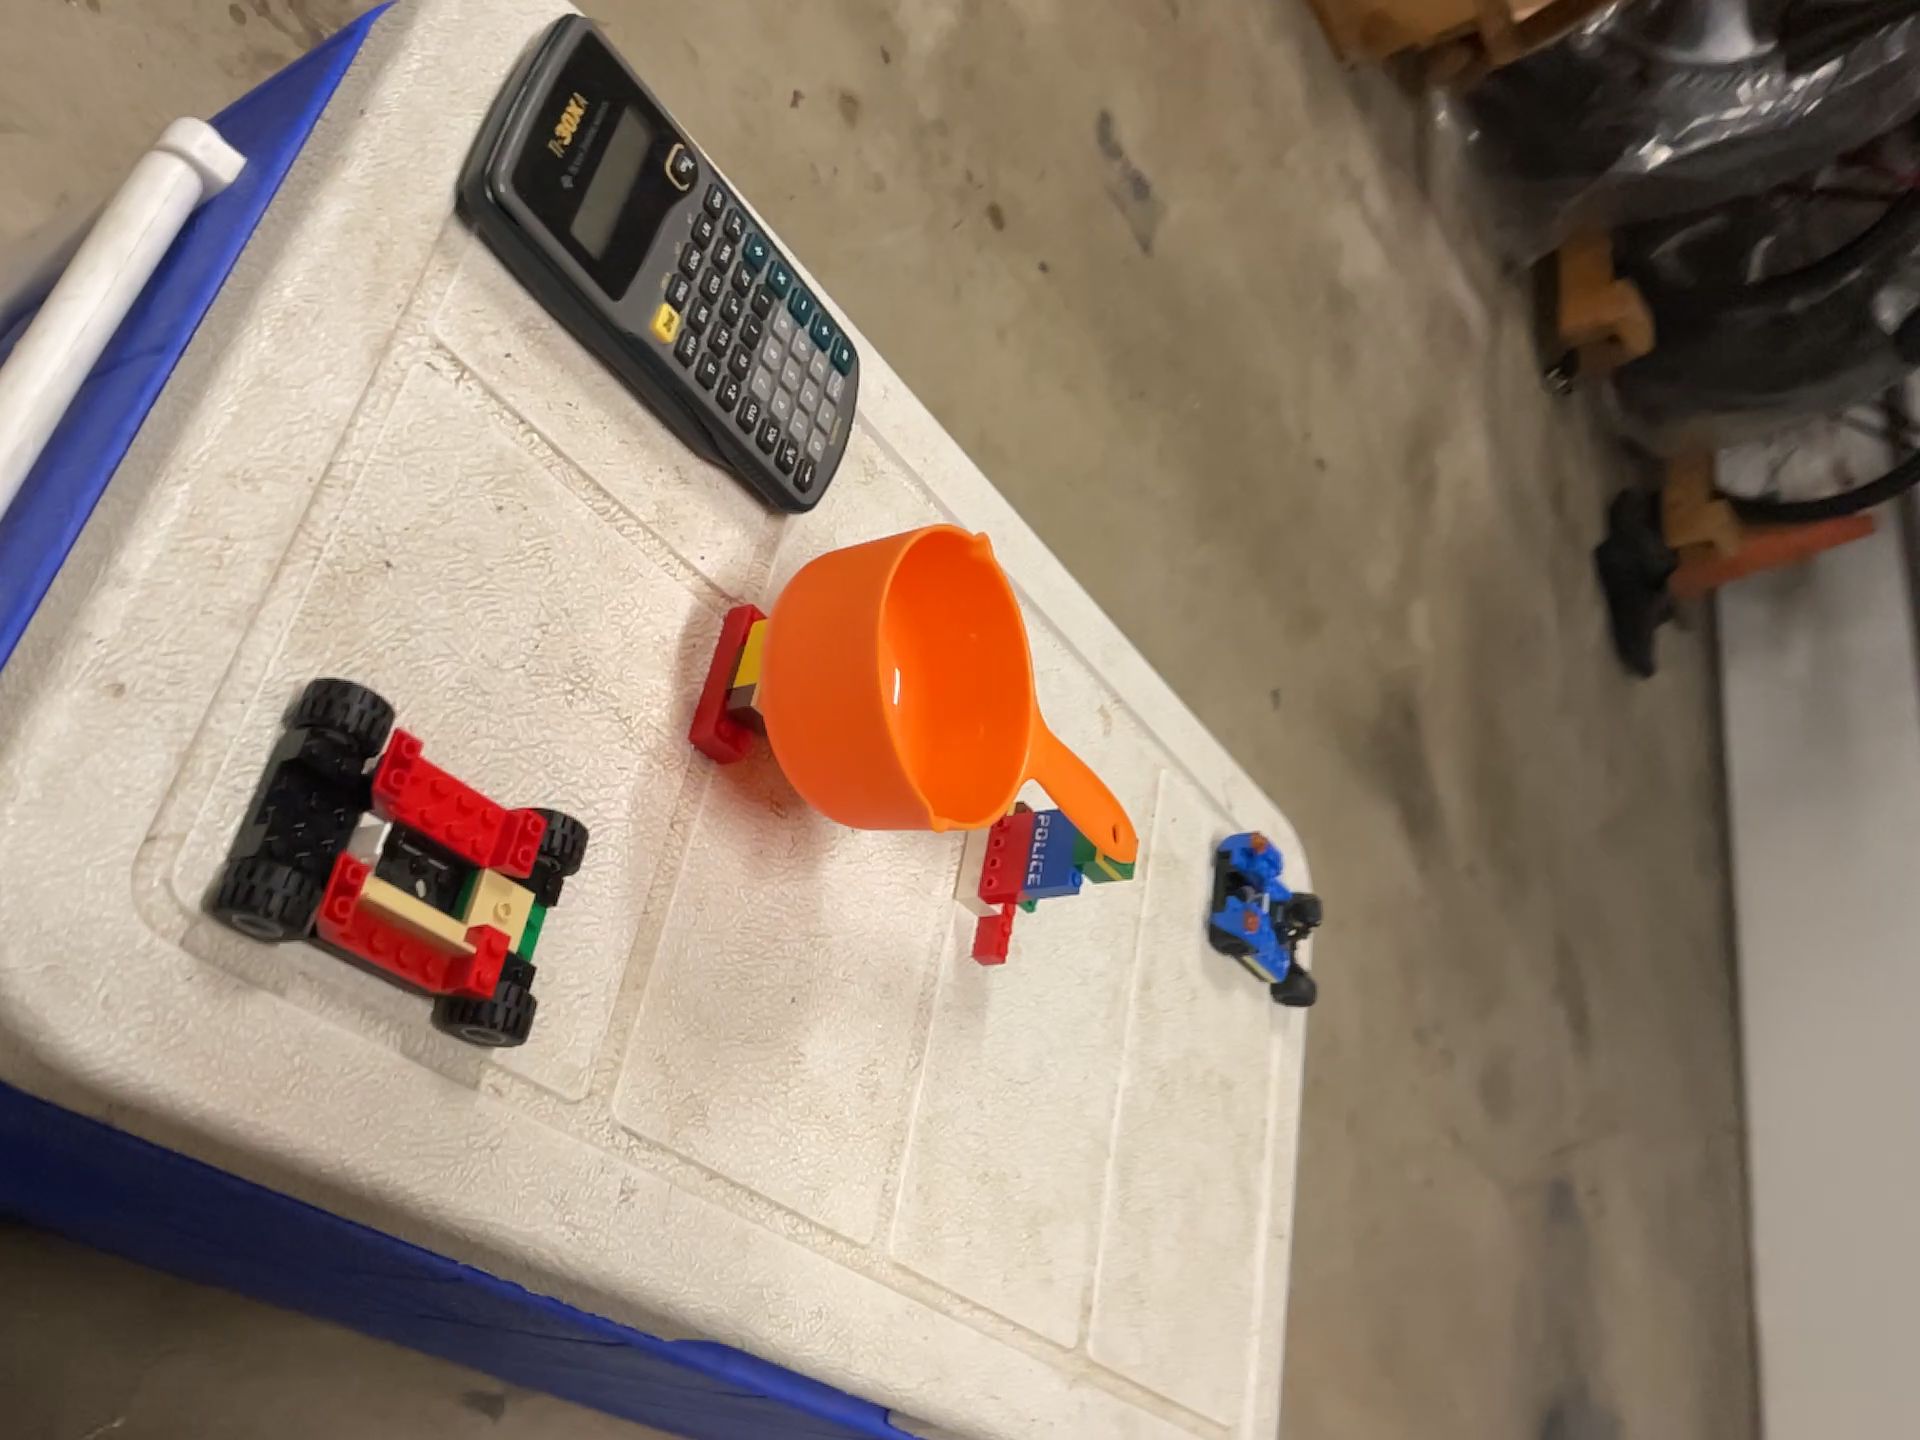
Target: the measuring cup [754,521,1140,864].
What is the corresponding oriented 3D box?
[{"bbox_3d":[0.001,0.009,0.493,0.173,0.052,0.095,43,48,-49],"label":"measuring cup"}]
